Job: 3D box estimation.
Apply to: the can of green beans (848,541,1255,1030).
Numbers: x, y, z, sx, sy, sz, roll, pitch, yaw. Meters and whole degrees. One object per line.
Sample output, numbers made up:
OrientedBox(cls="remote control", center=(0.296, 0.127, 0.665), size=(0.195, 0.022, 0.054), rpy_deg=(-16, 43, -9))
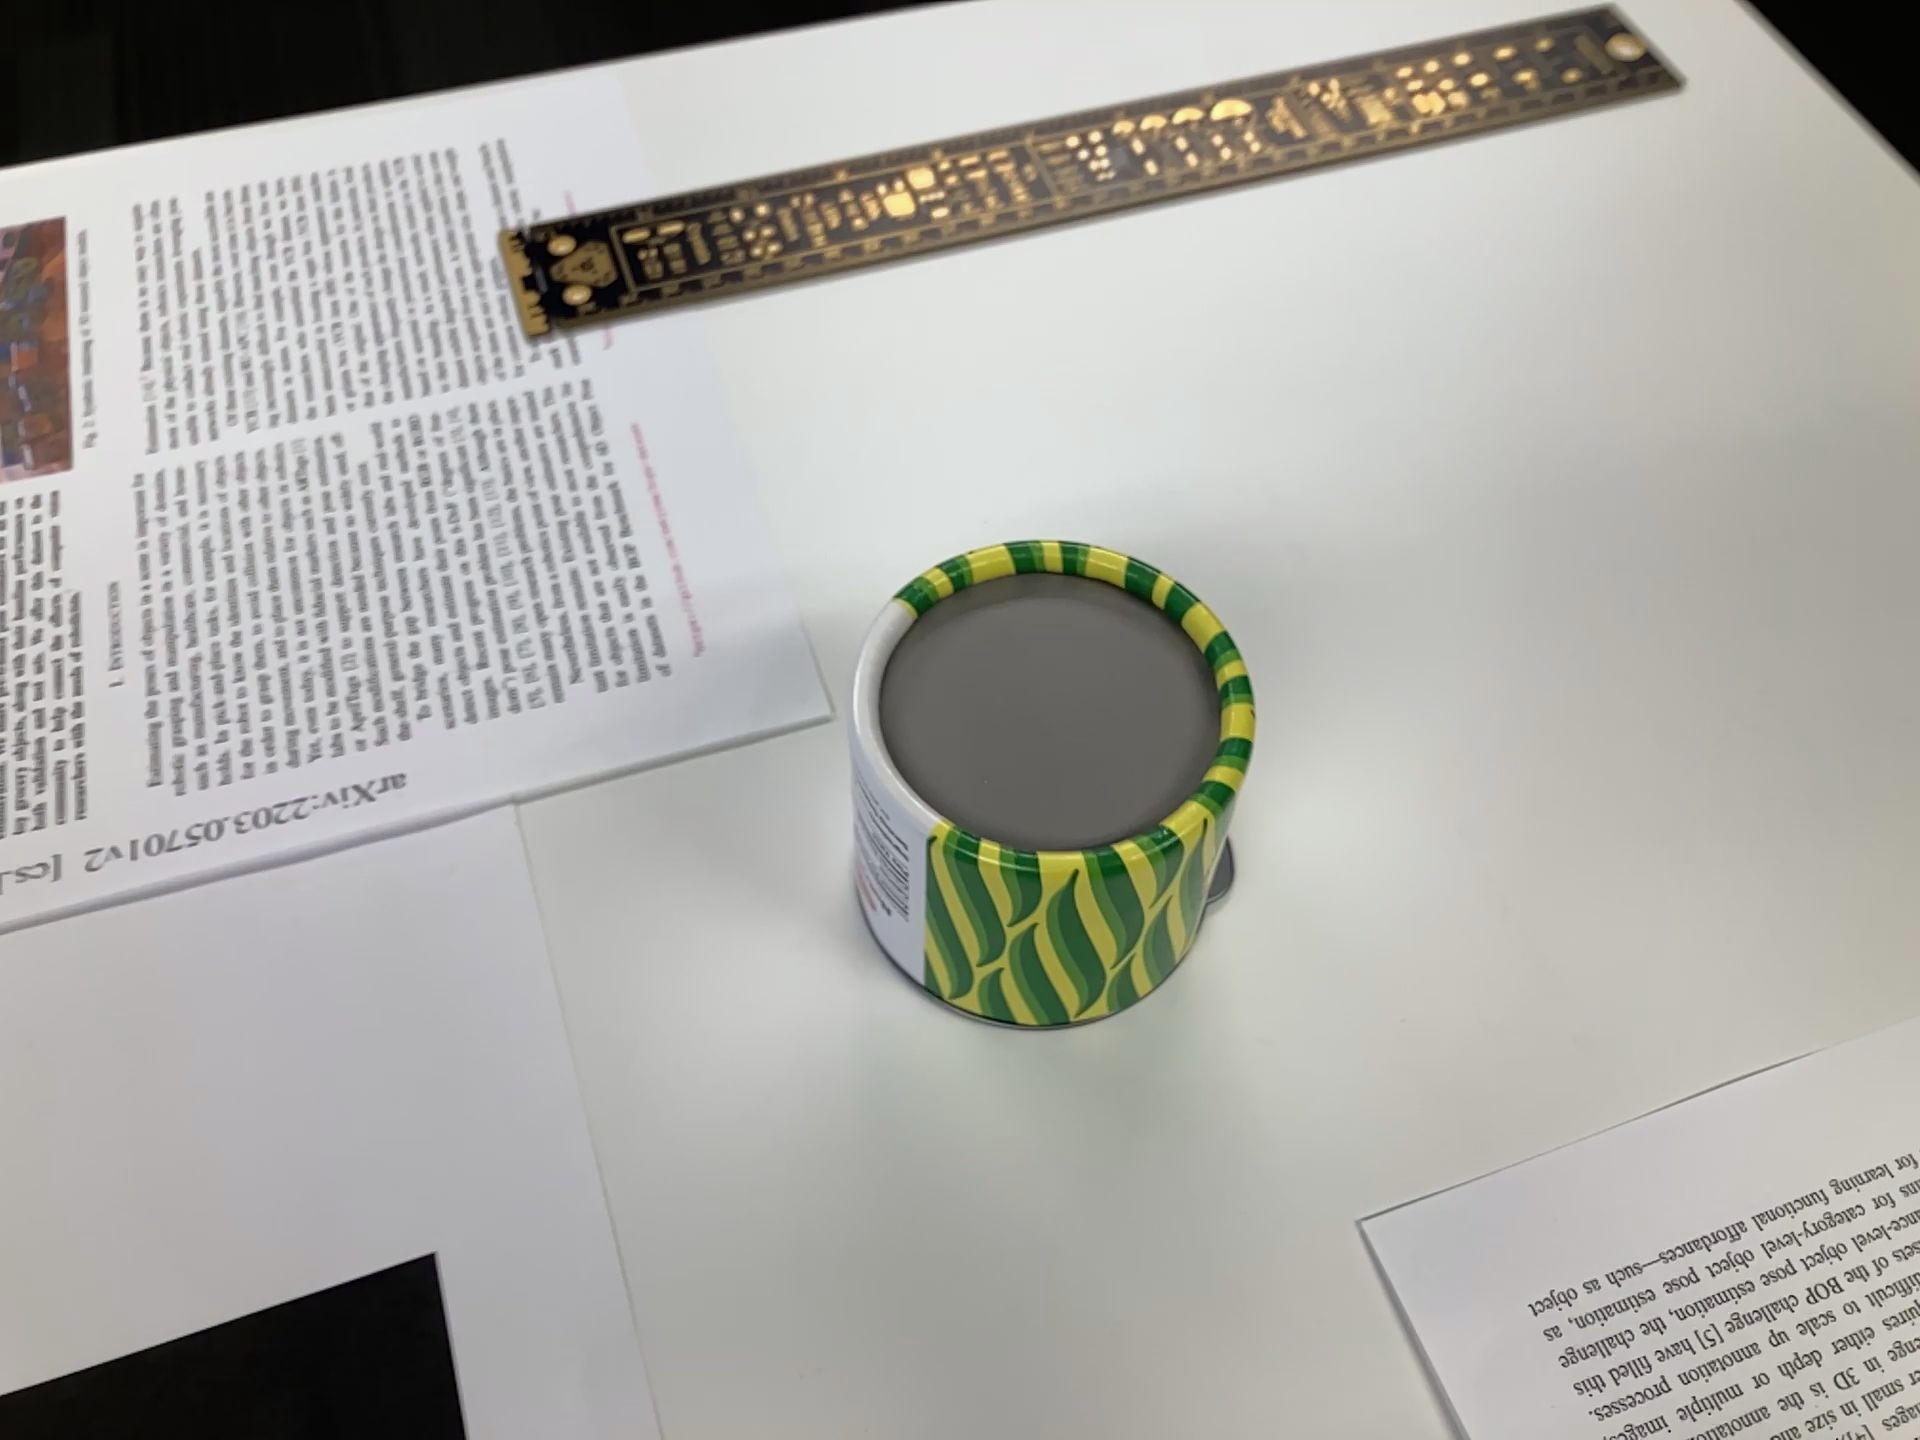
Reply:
OrientedBox(cls="can of green beans", center=(0.014, 0.012, 0.278), size=(0.071, 0.058, 0.071), rpy_deg=(1, 56, -1))
